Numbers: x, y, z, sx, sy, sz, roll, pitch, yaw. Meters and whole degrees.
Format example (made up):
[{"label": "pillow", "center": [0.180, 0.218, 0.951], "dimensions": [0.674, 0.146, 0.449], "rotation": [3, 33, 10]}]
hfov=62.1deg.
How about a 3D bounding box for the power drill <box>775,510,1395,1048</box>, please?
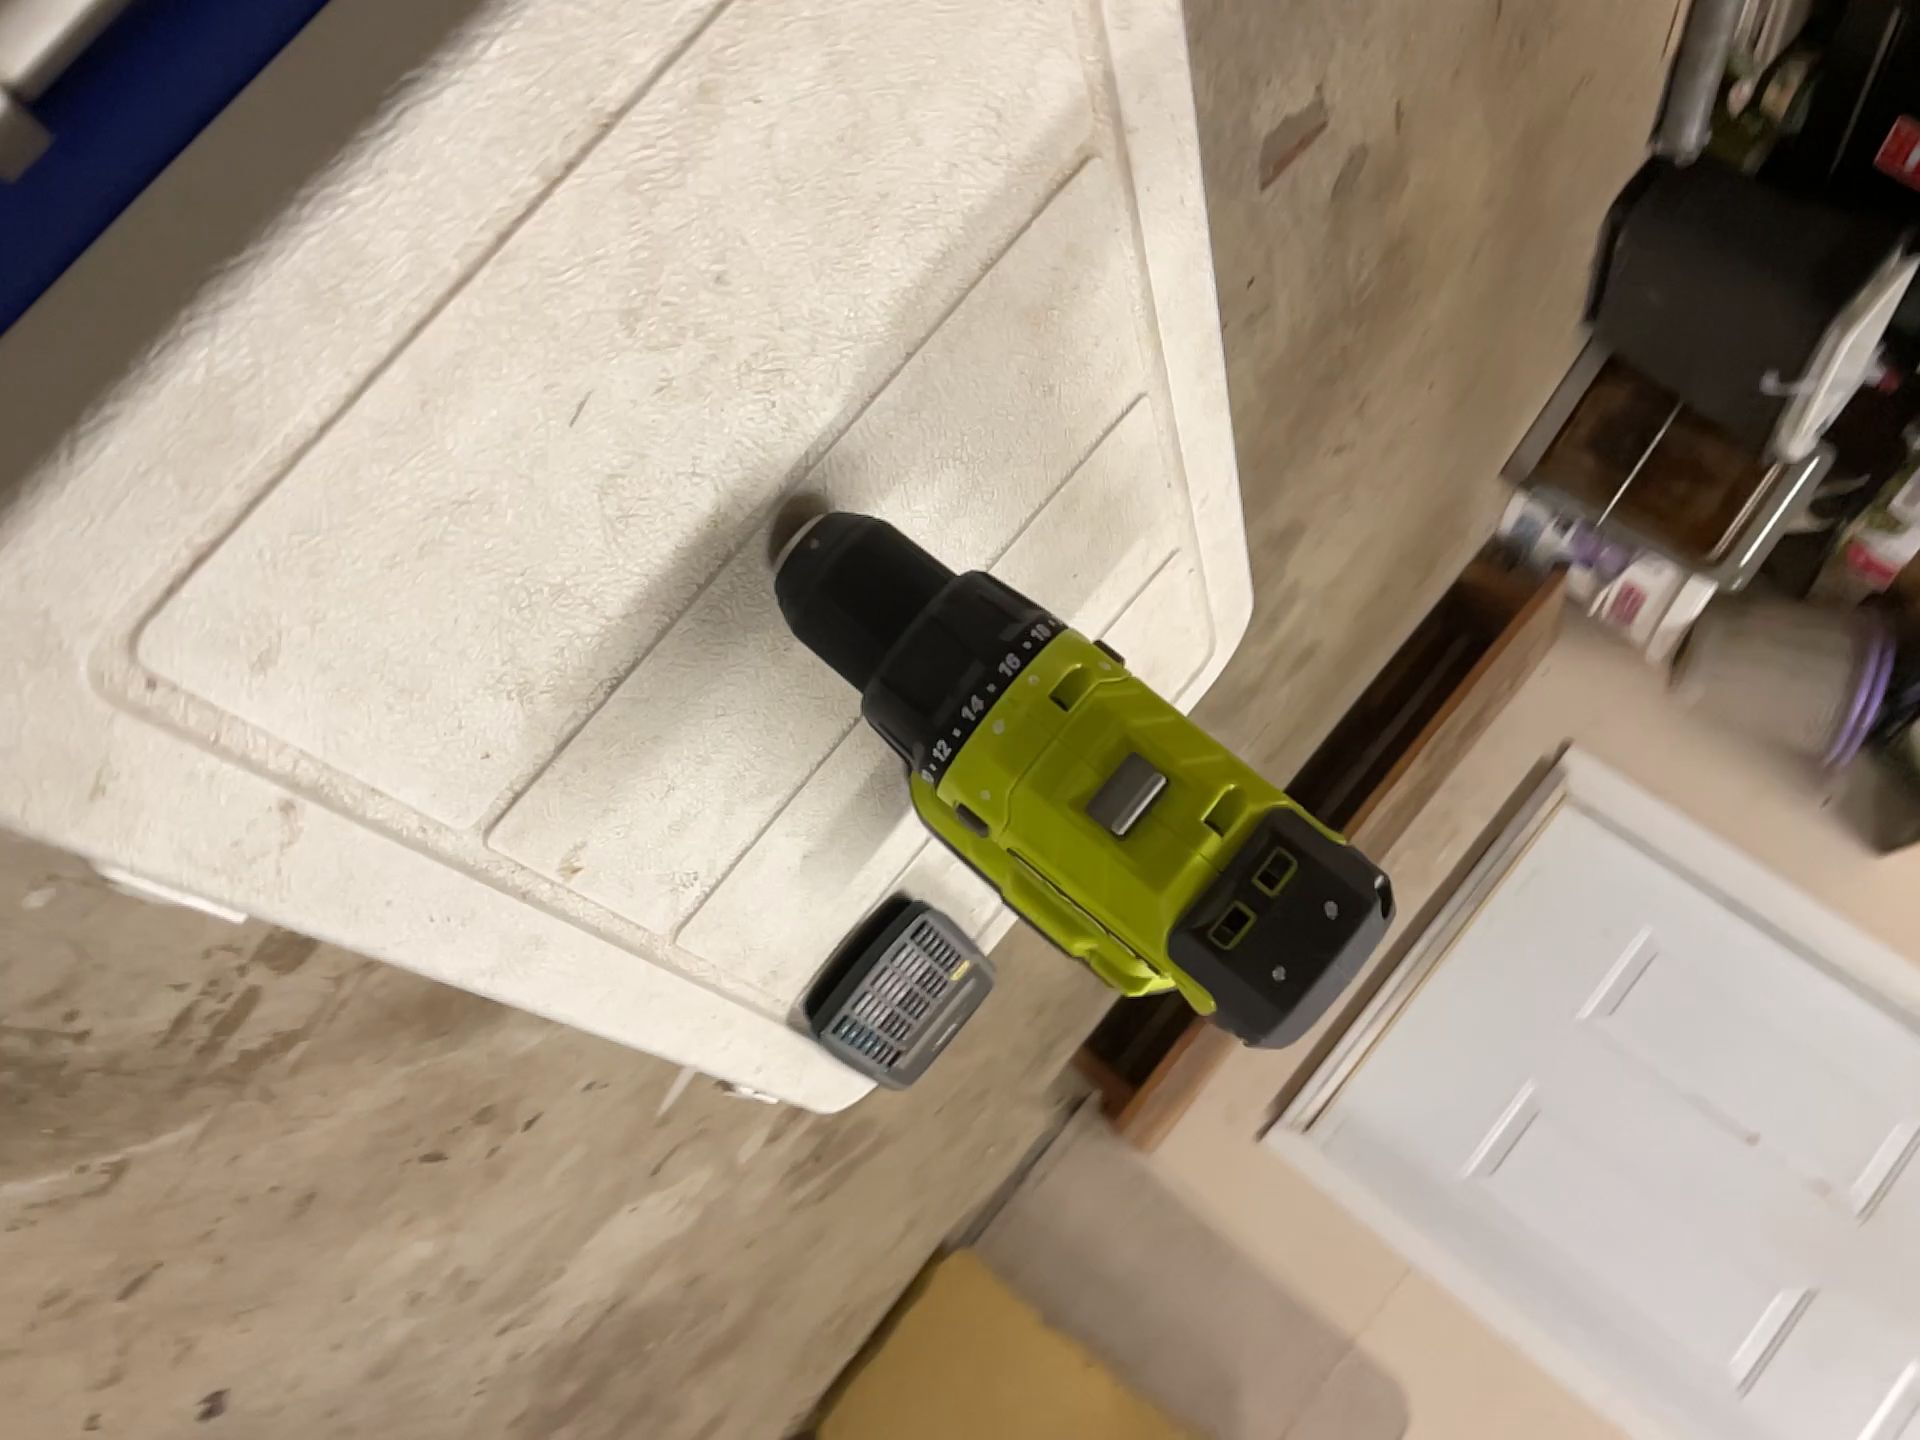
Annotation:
[{"label": "power drill", "center": [0.032, 0.021, 0.521], "dimensions": [0.080, 0.190, 0.228], "rotation": [-50, 172, -5]}]
